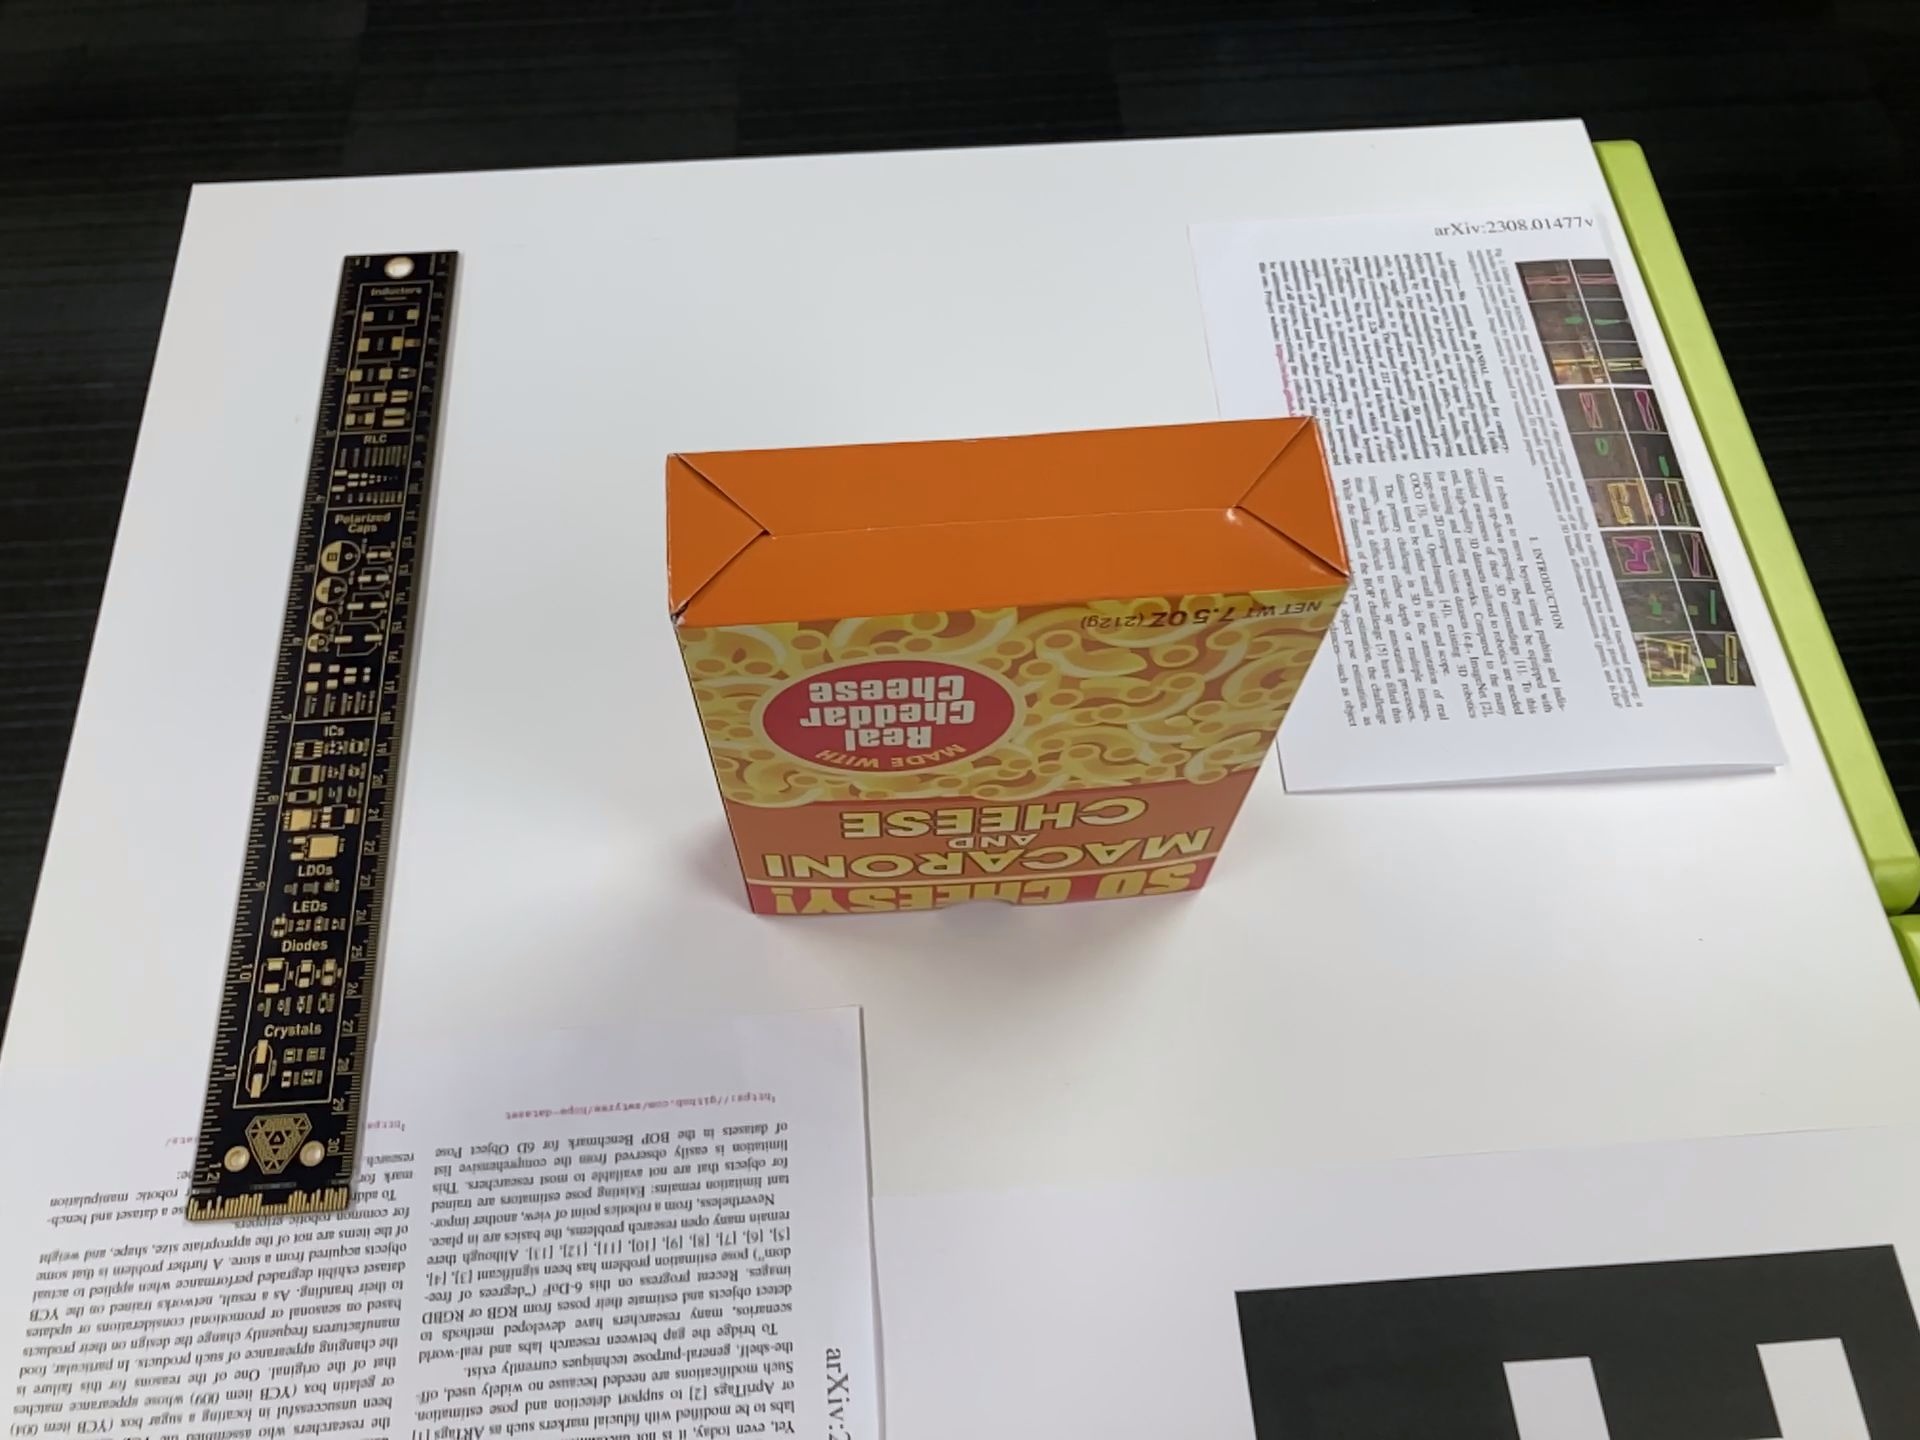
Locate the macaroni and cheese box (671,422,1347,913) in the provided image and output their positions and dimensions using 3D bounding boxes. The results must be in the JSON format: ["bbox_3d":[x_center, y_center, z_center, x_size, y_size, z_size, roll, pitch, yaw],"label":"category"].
[{"bbox_3d":[0.005,-0.001,0.366,0.124,0.166,0.040,-3,64,-3],"label":"macaroni and cheese box"}]
